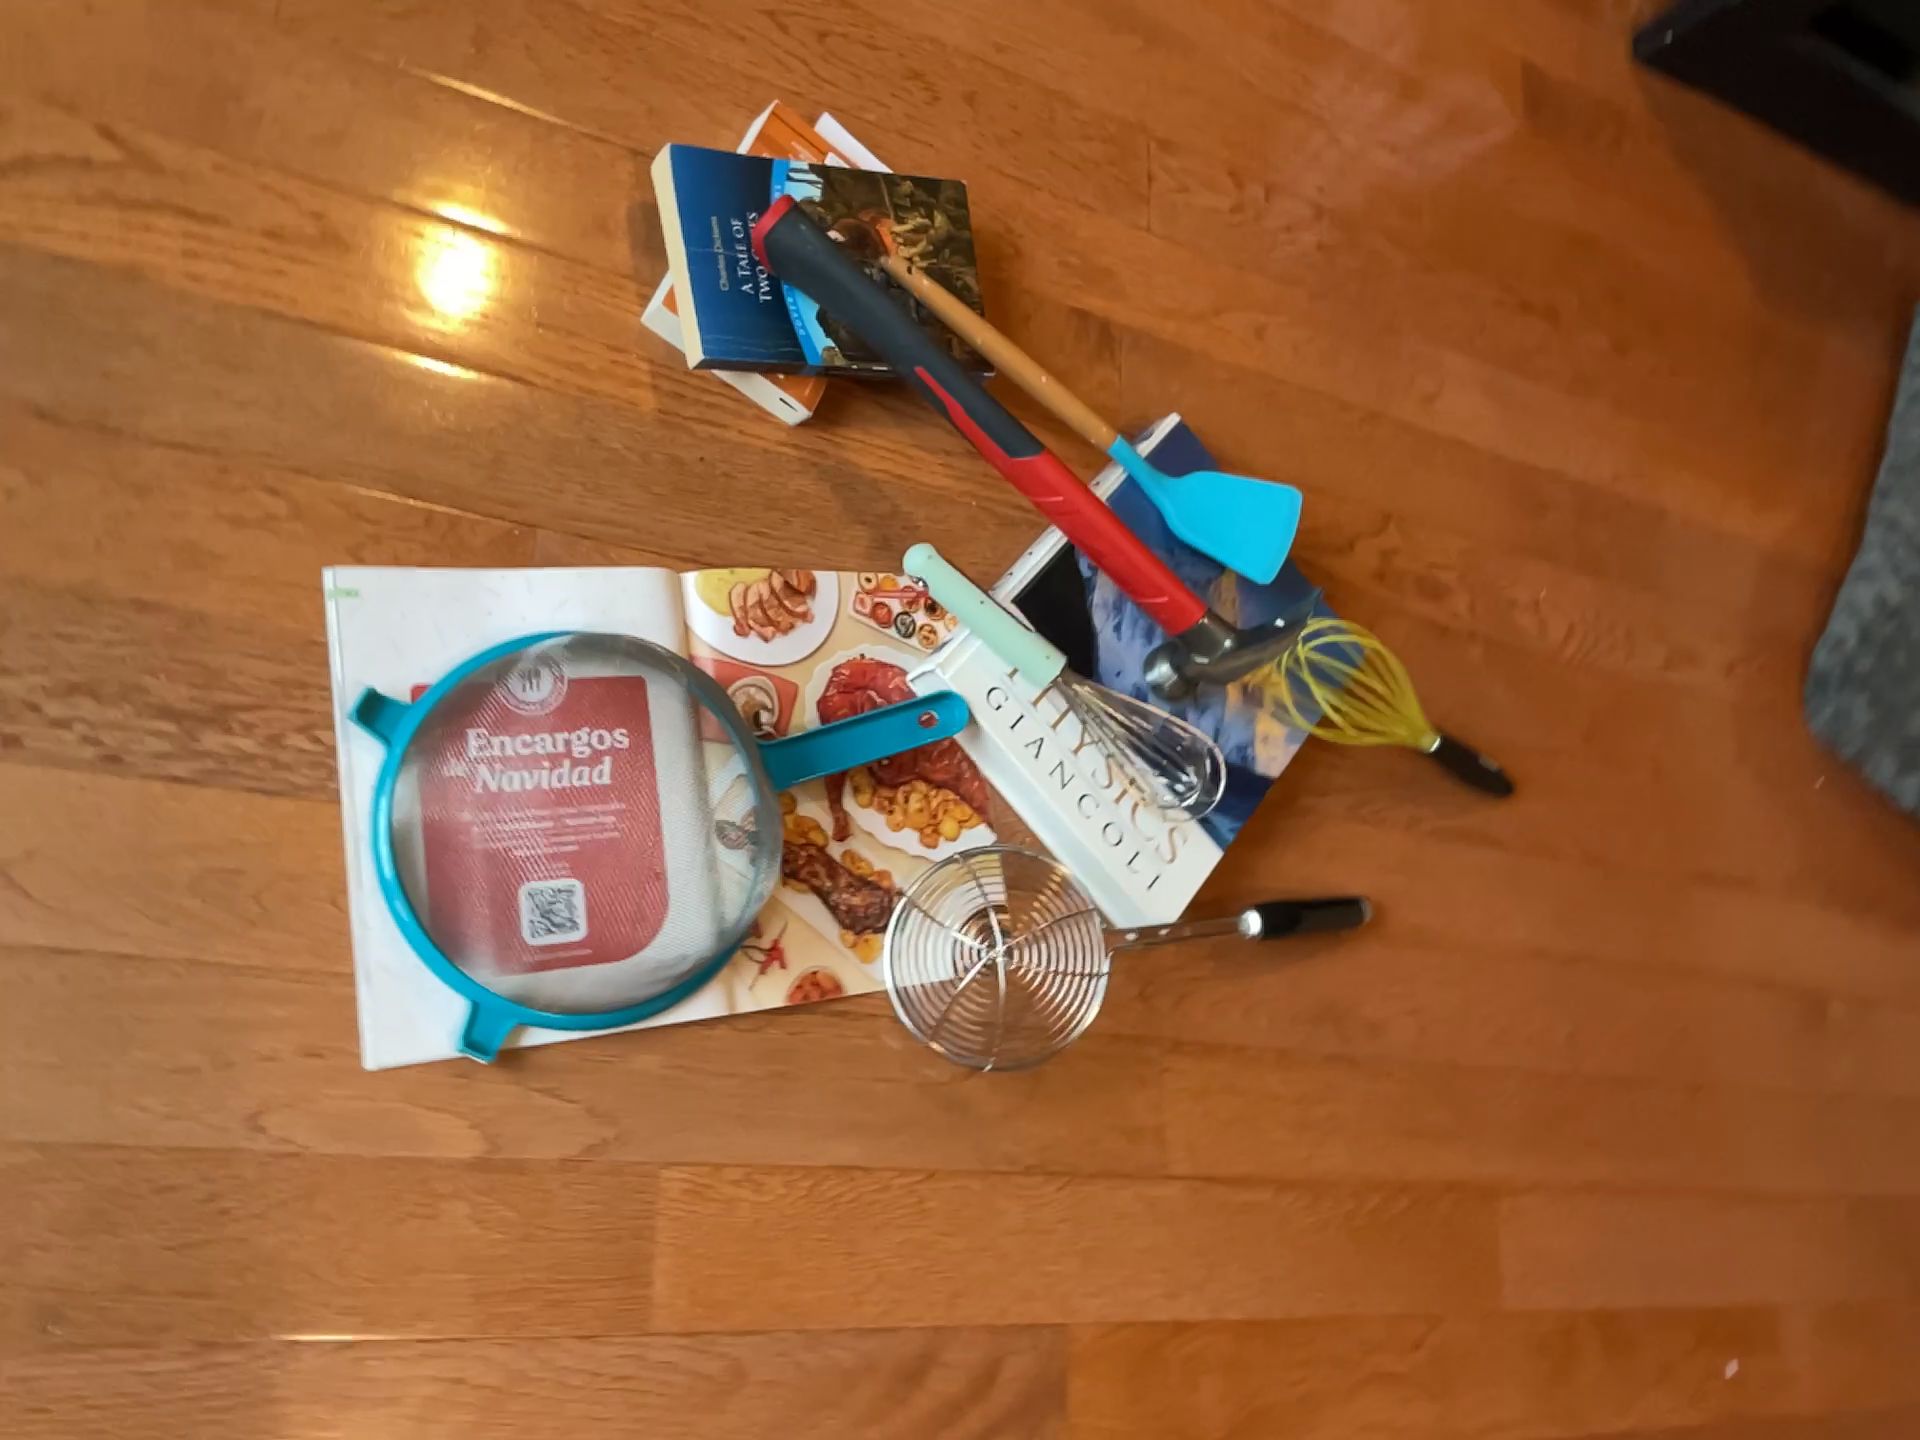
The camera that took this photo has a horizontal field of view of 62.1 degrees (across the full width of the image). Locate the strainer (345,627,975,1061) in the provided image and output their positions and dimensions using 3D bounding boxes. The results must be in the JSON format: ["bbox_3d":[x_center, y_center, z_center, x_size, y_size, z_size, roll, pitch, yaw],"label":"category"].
[{"bbox_3d":[-0.125,0.029,0.823,0.340,0.095,0.211,-17,86,-27],"label":"strainer"}]

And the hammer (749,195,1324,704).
[{"bbox_3d":[0.038,-0.163,0.924,0.386,0.143,0.038,42,56,-12],"label":"hammer"}]

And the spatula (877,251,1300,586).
[{"bbox_3d":[0.081,-0.197,1.006,0.317,0.044,0.082,34,64,-20],"label":"spatula"}]

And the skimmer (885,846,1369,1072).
[{"bbox_3d":[0.119,0.136,0.996,0.363,0.090,0.127,1,74,-42],"label":"skimmer"}]

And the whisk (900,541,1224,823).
[{"bbox_3d":[0.062,-0.024,0.953,0.246,0.058,0.059,40,91,-11],"label":"whisk"}]

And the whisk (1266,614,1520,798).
[{"bbox_3d":[0.312,0.006,1.111,0.311,0.067,0.080,24,50,-40],"label":"whisk"}]
